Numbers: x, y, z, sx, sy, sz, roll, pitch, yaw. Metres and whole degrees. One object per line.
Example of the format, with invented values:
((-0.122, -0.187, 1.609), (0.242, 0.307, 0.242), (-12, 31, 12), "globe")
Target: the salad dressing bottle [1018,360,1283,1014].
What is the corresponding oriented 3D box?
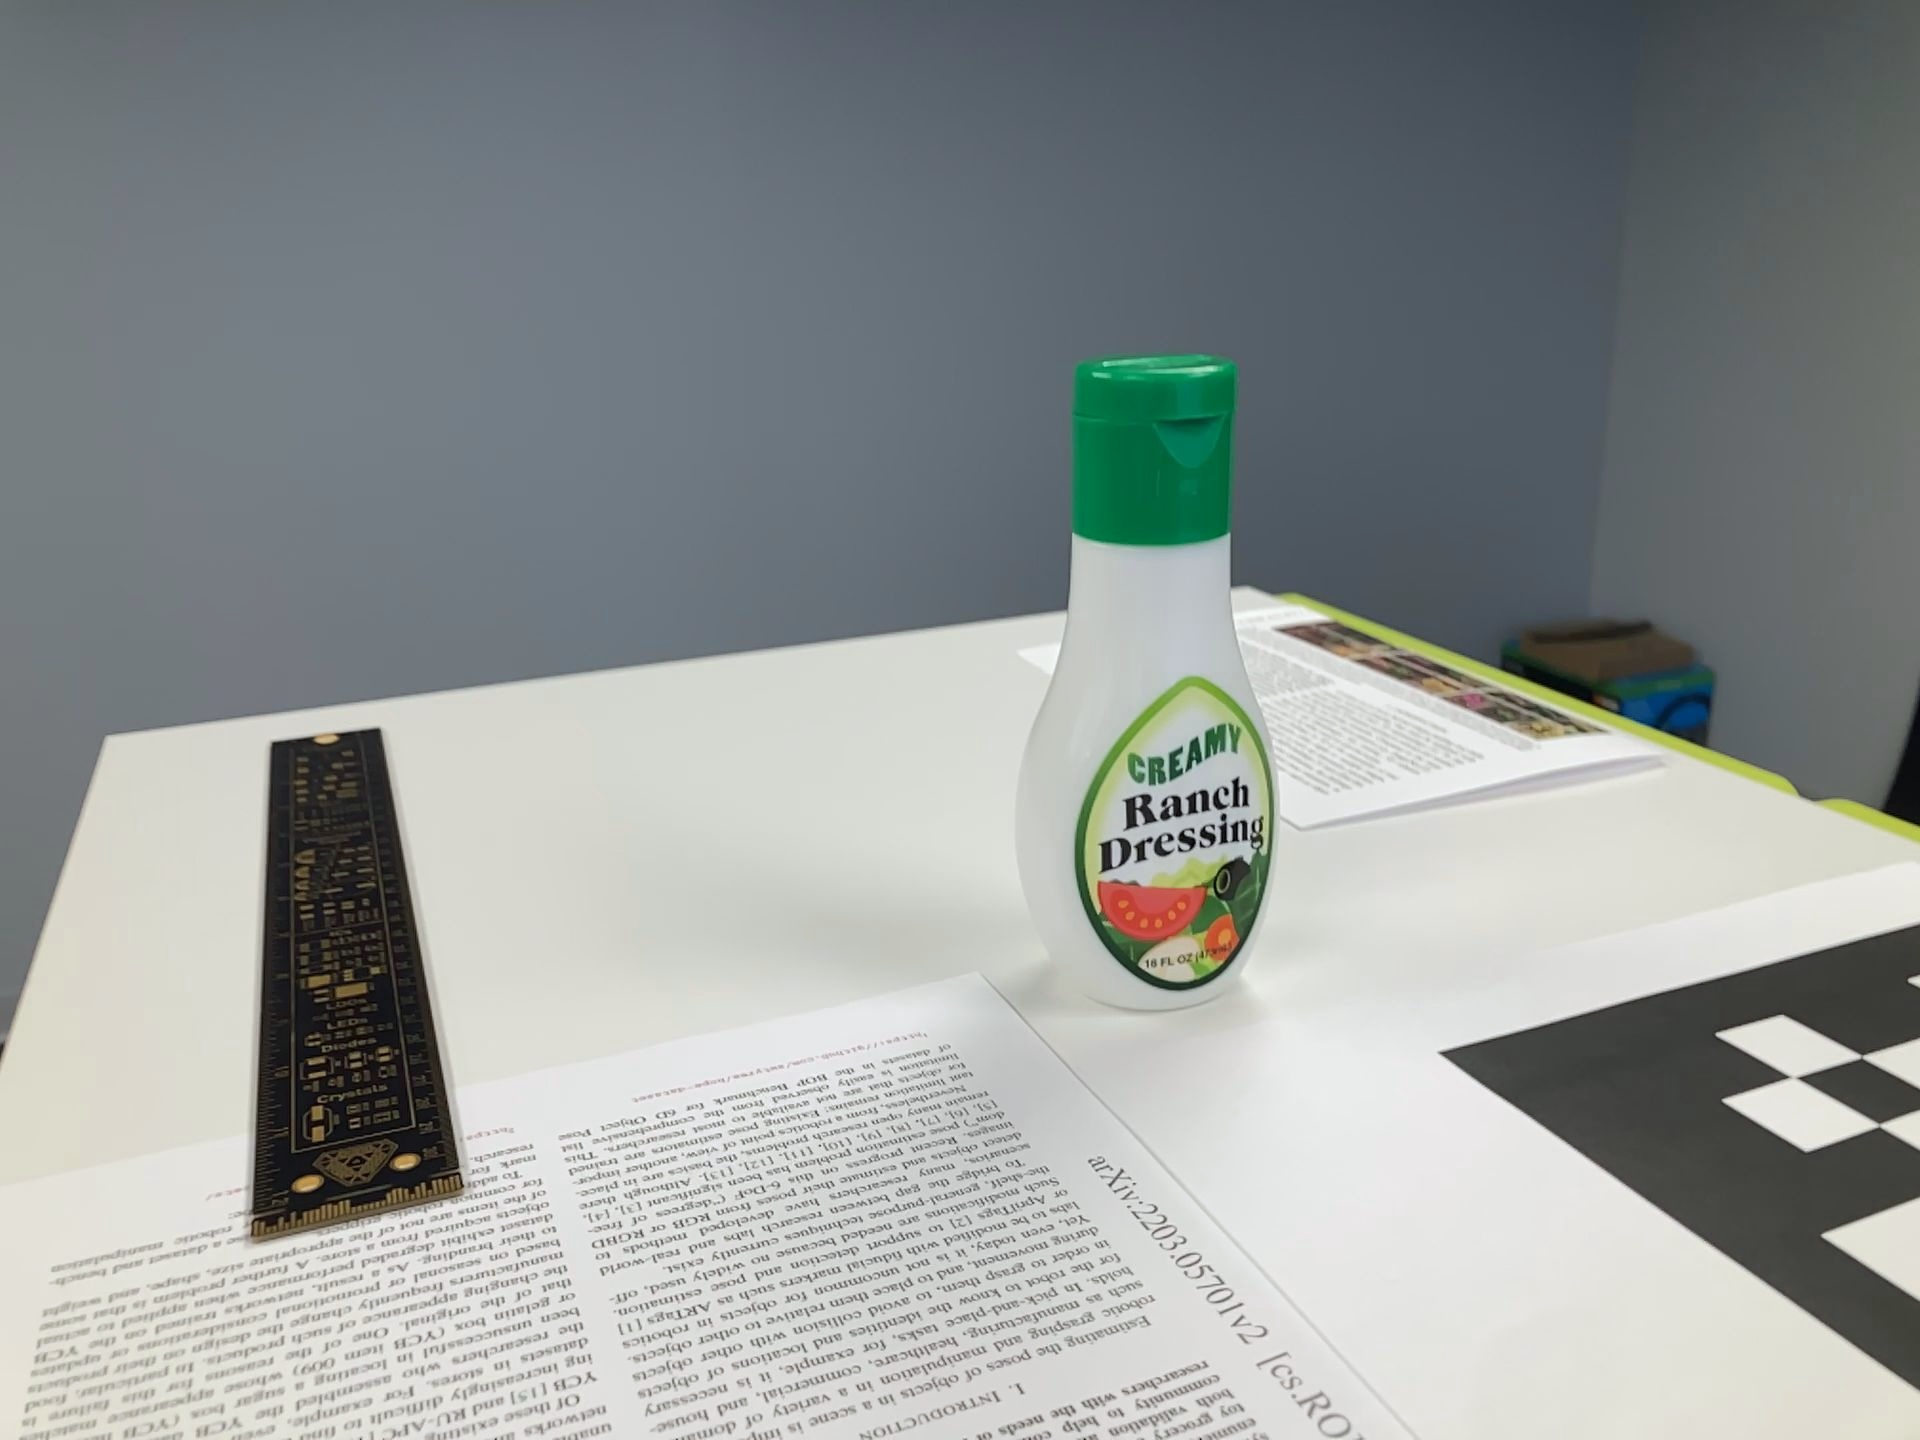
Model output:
((0.045, -0.007, 0.370), (0.064, 0.147, 0.044), (-9, 19, -20), "salad dressing bottle")
